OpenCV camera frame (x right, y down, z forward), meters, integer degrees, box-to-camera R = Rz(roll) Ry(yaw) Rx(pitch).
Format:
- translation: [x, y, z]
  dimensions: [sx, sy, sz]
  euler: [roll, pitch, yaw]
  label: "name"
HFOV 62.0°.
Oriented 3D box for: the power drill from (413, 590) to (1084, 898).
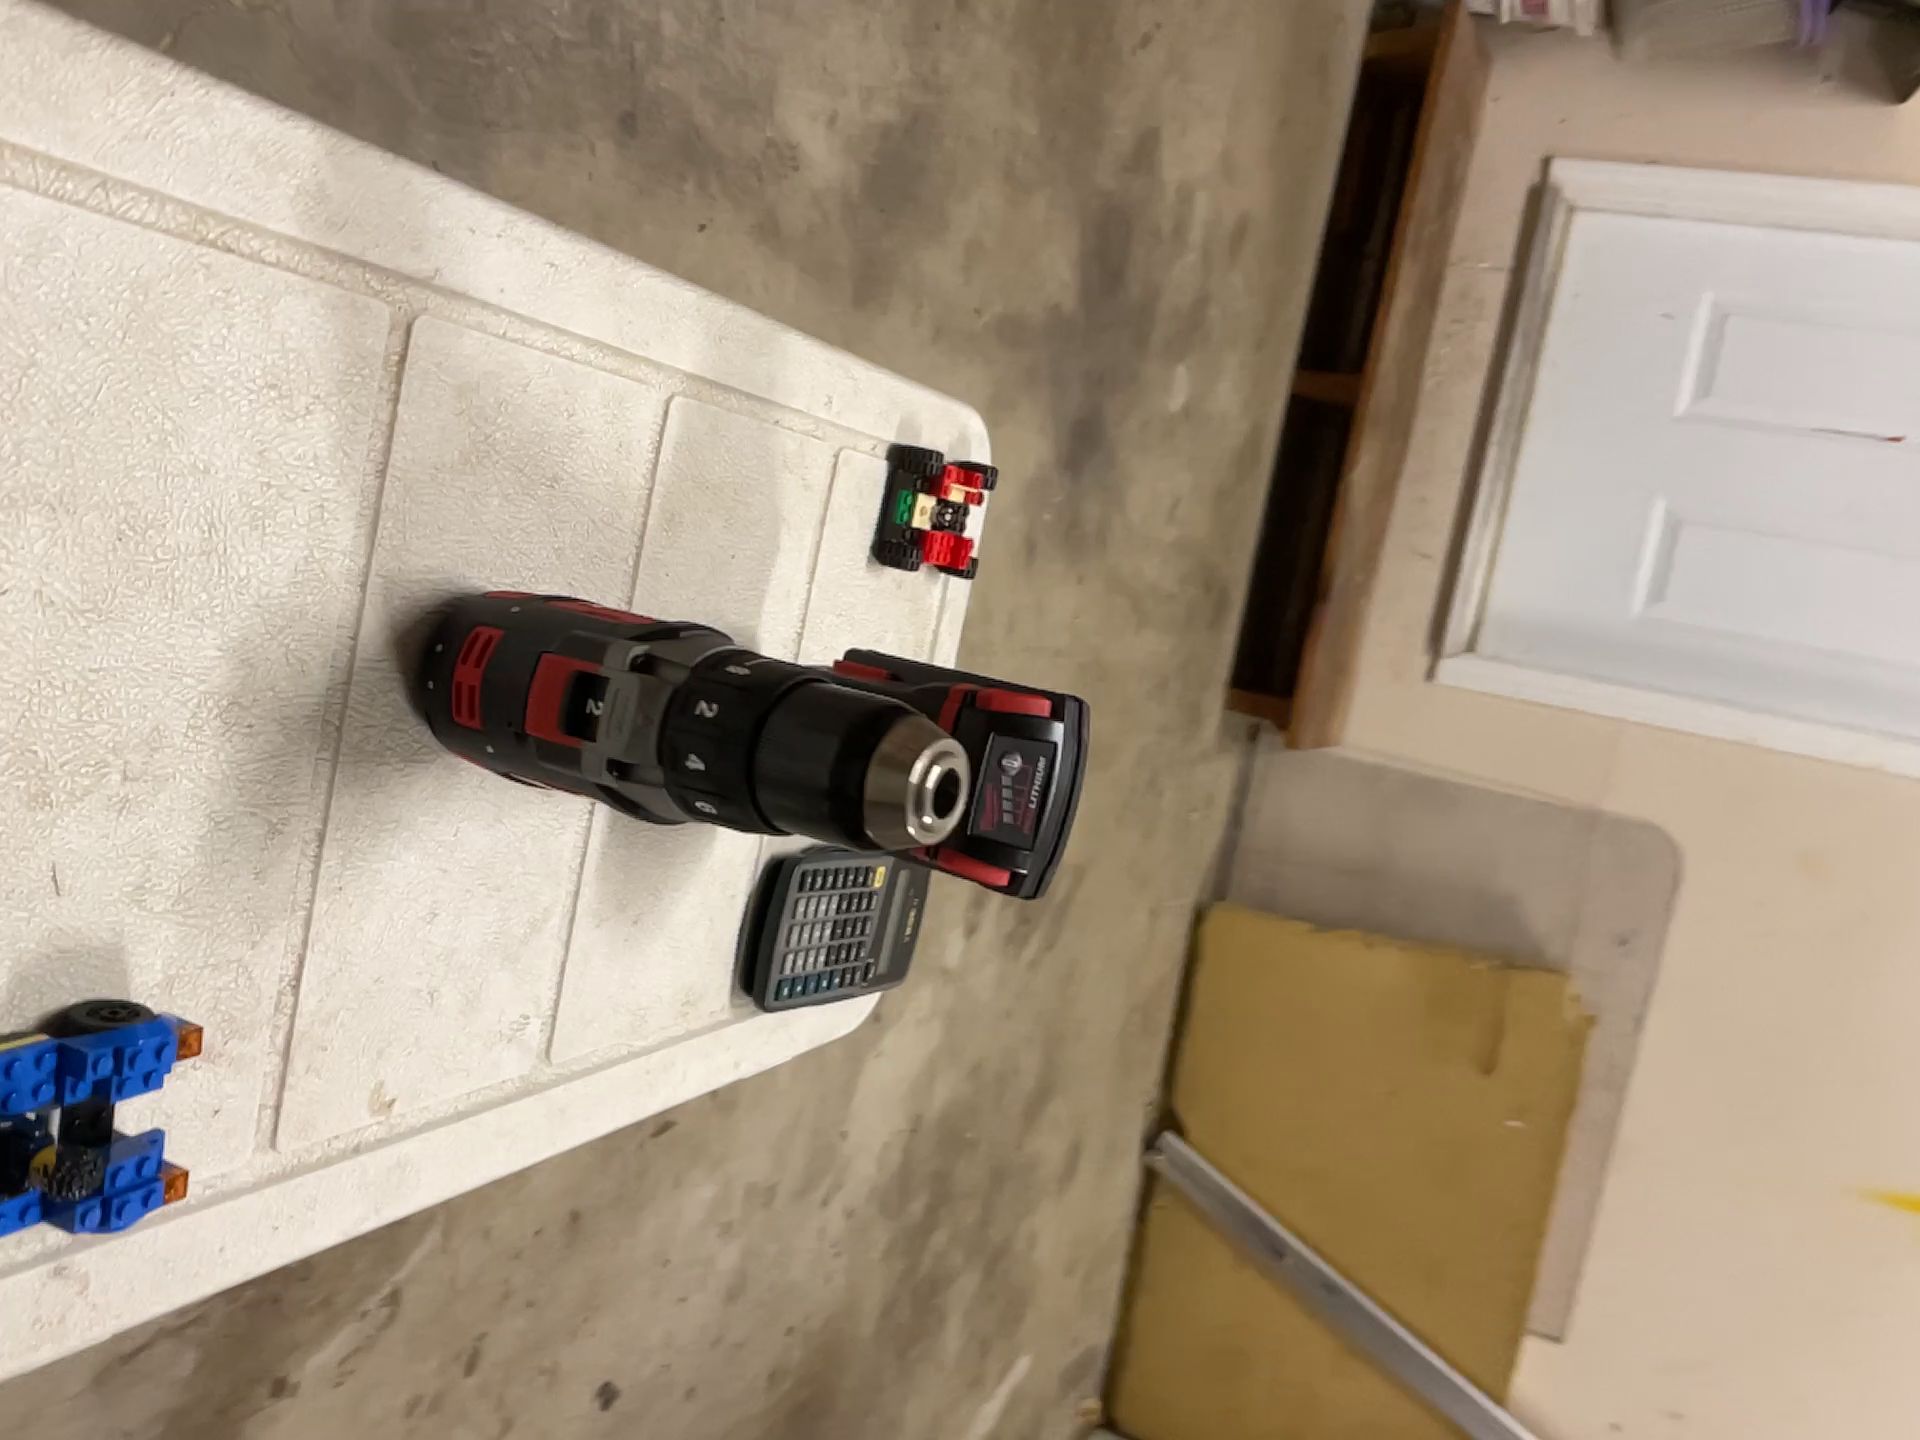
- translation: [-0.040, 0.011, 0.536]
  dimensions: [0.227, 0.188, 0.080]
  euler: [14, 89, -58]
  label: "power drill"
